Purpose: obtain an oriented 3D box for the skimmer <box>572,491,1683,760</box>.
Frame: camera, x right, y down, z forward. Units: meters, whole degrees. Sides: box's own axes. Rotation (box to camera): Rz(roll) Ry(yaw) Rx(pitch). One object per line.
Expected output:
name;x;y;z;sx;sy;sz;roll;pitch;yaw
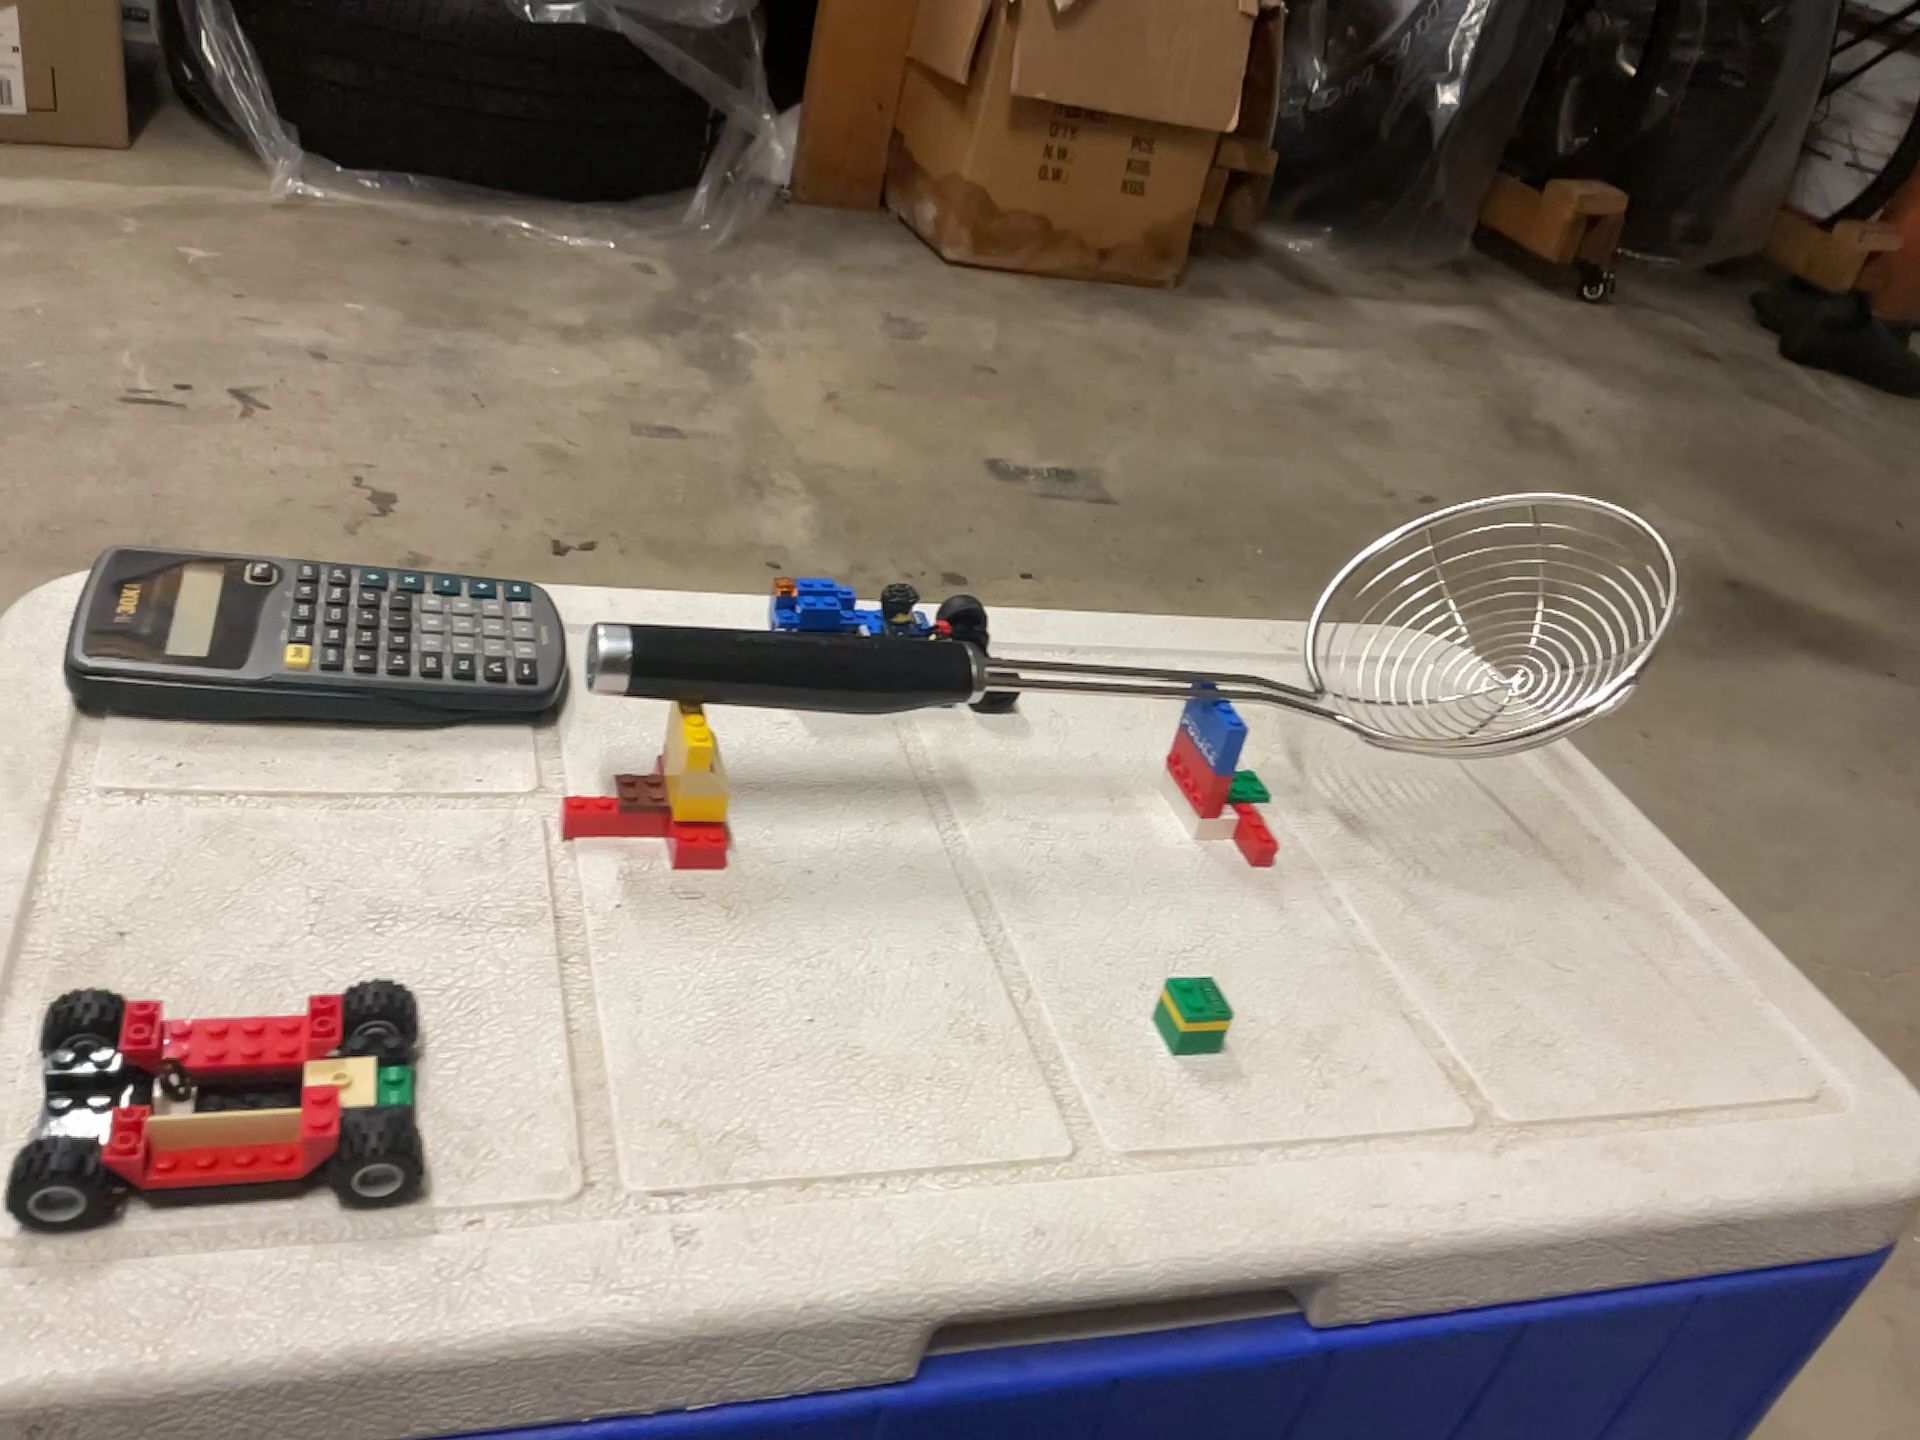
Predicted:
skimmer;0.063;-0.038;0.516;0.363;0.089;0.128;1;31;-21
